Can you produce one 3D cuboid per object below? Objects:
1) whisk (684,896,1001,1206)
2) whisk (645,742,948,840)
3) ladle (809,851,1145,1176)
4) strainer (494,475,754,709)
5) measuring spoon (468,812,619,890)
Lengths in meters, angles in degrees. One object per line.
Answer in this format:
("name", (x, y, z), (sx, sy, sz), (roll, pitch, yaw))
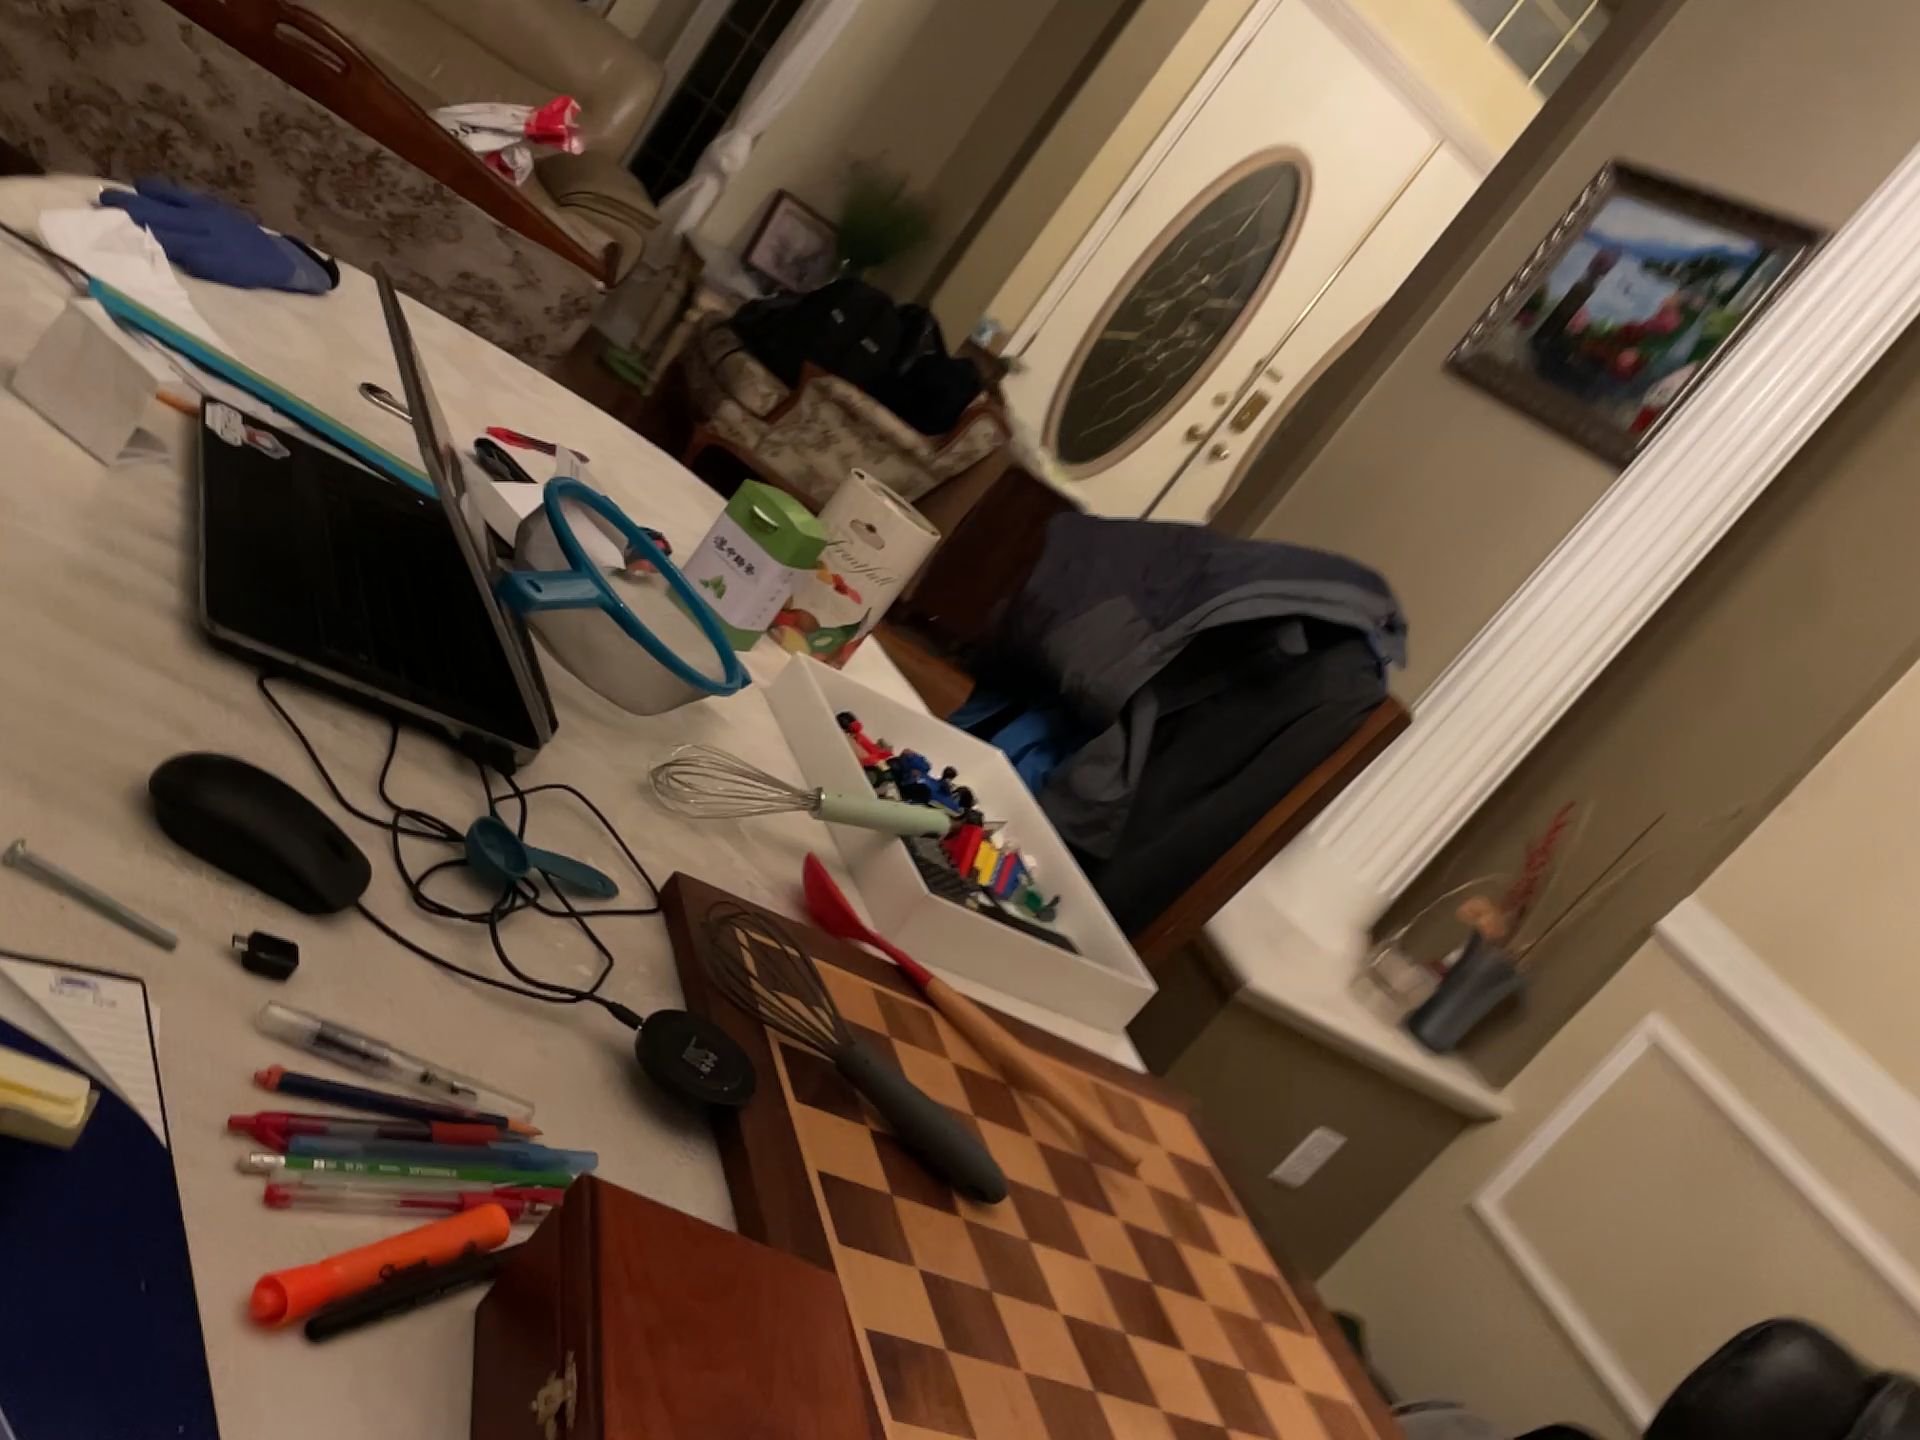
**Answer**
("whisk", (-0.067, 0.193, 0.915), (0.239, 0.055, 0.055), (44, 29, 5))
("whisk", (-0.115, 0.059, 1.170), (0.246, 0.058, 0.059), (13, 56, -30))
("ladle", (0.003, 0.198, 1.083), (0.316, 0.031, 0.069), (39, -8, 22))
("strainer", (-0.277, -0.071, 1.145), (0.211, 0.095, 0.340), (52, 10, 1))
("measuring spoon", (-0.243, 0.086, 0.927), (0.042, 0.021, 0.128), (55, 9, 29))
